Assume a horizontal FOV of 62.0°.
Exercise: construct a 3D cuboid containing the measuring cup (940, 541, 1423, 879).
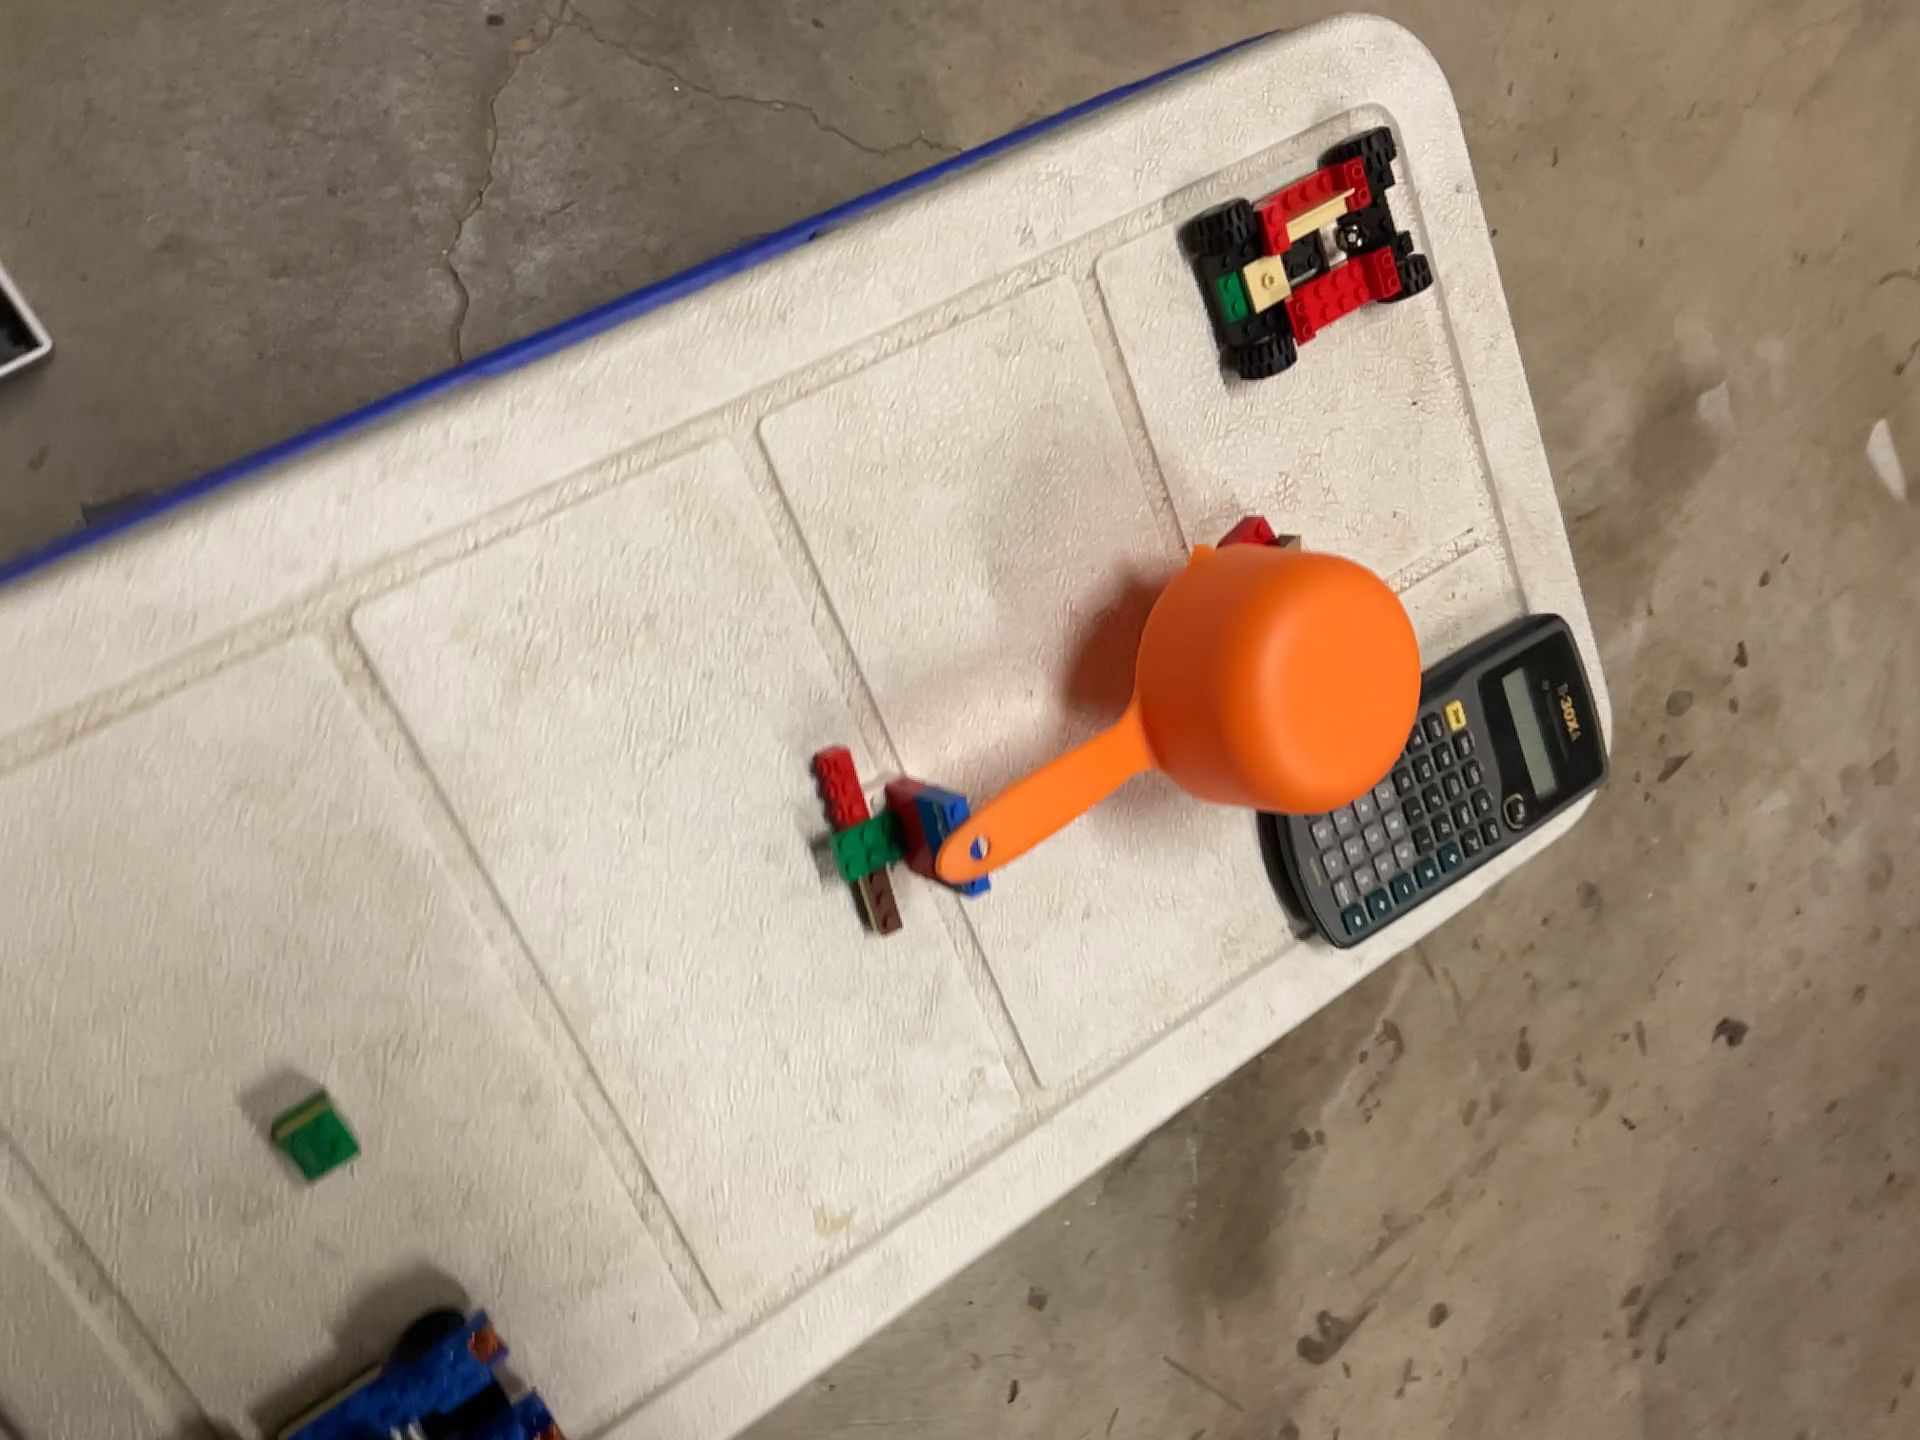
[{"bbox_3d":[0.073,0.006,0.493,0.173,0.052,0.095,-31,110,-27],"label":"measuring cup"}]
